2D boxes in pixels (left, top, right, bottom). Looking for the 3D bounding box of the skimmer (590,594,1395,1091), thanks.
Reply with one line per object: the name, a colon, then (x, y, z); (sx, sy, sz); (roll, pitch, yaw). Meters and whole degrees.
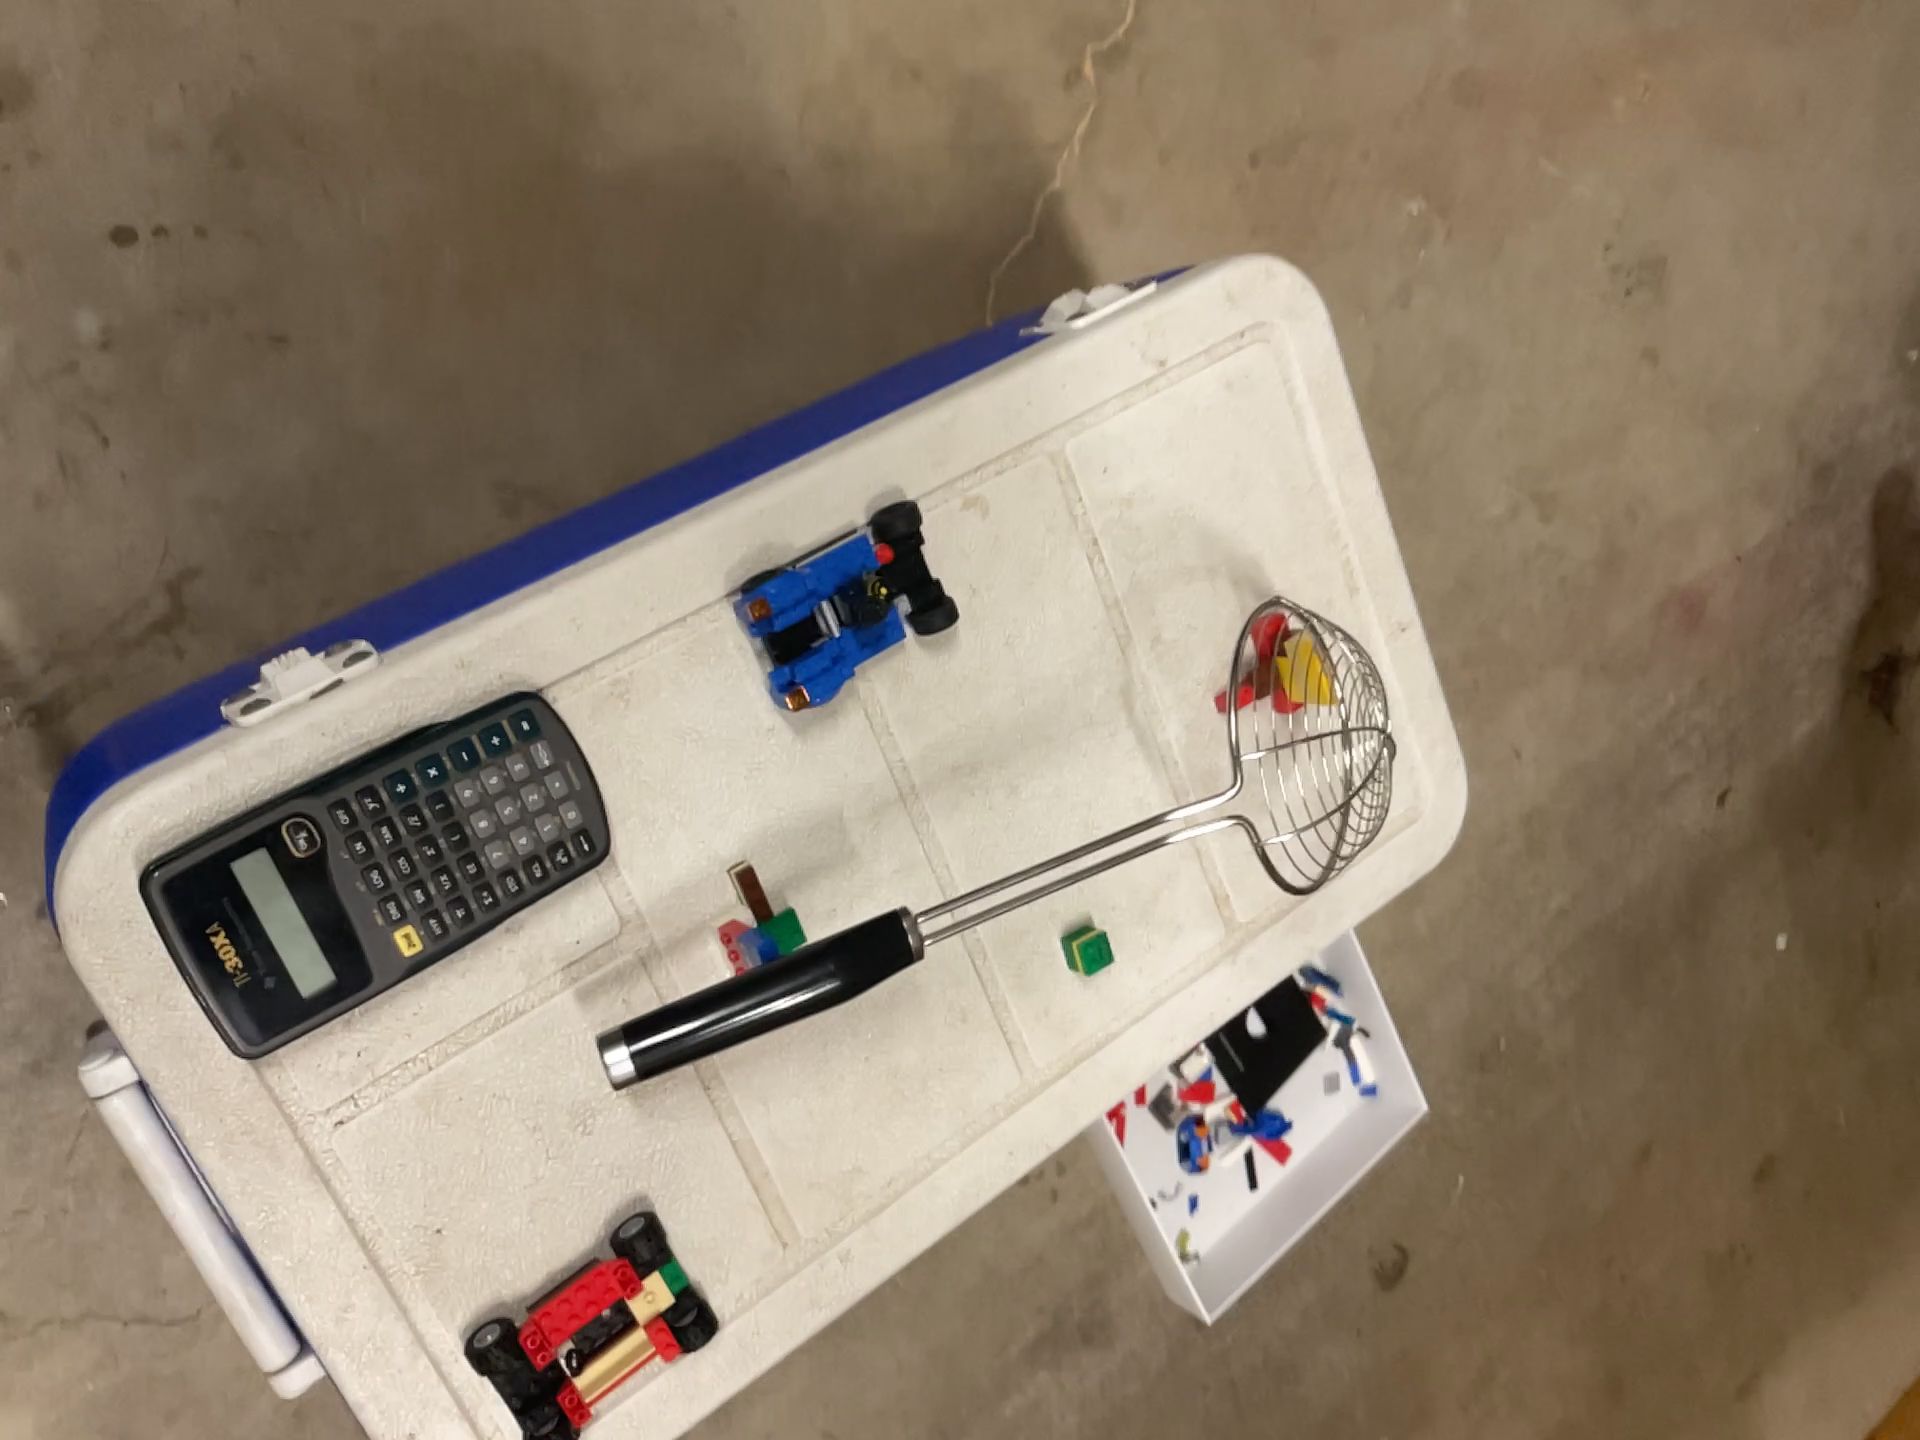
skimmer: (0.025, 0.056, 0.646); (0.363, 0.090, 0.127); (-21, 106, -15)
